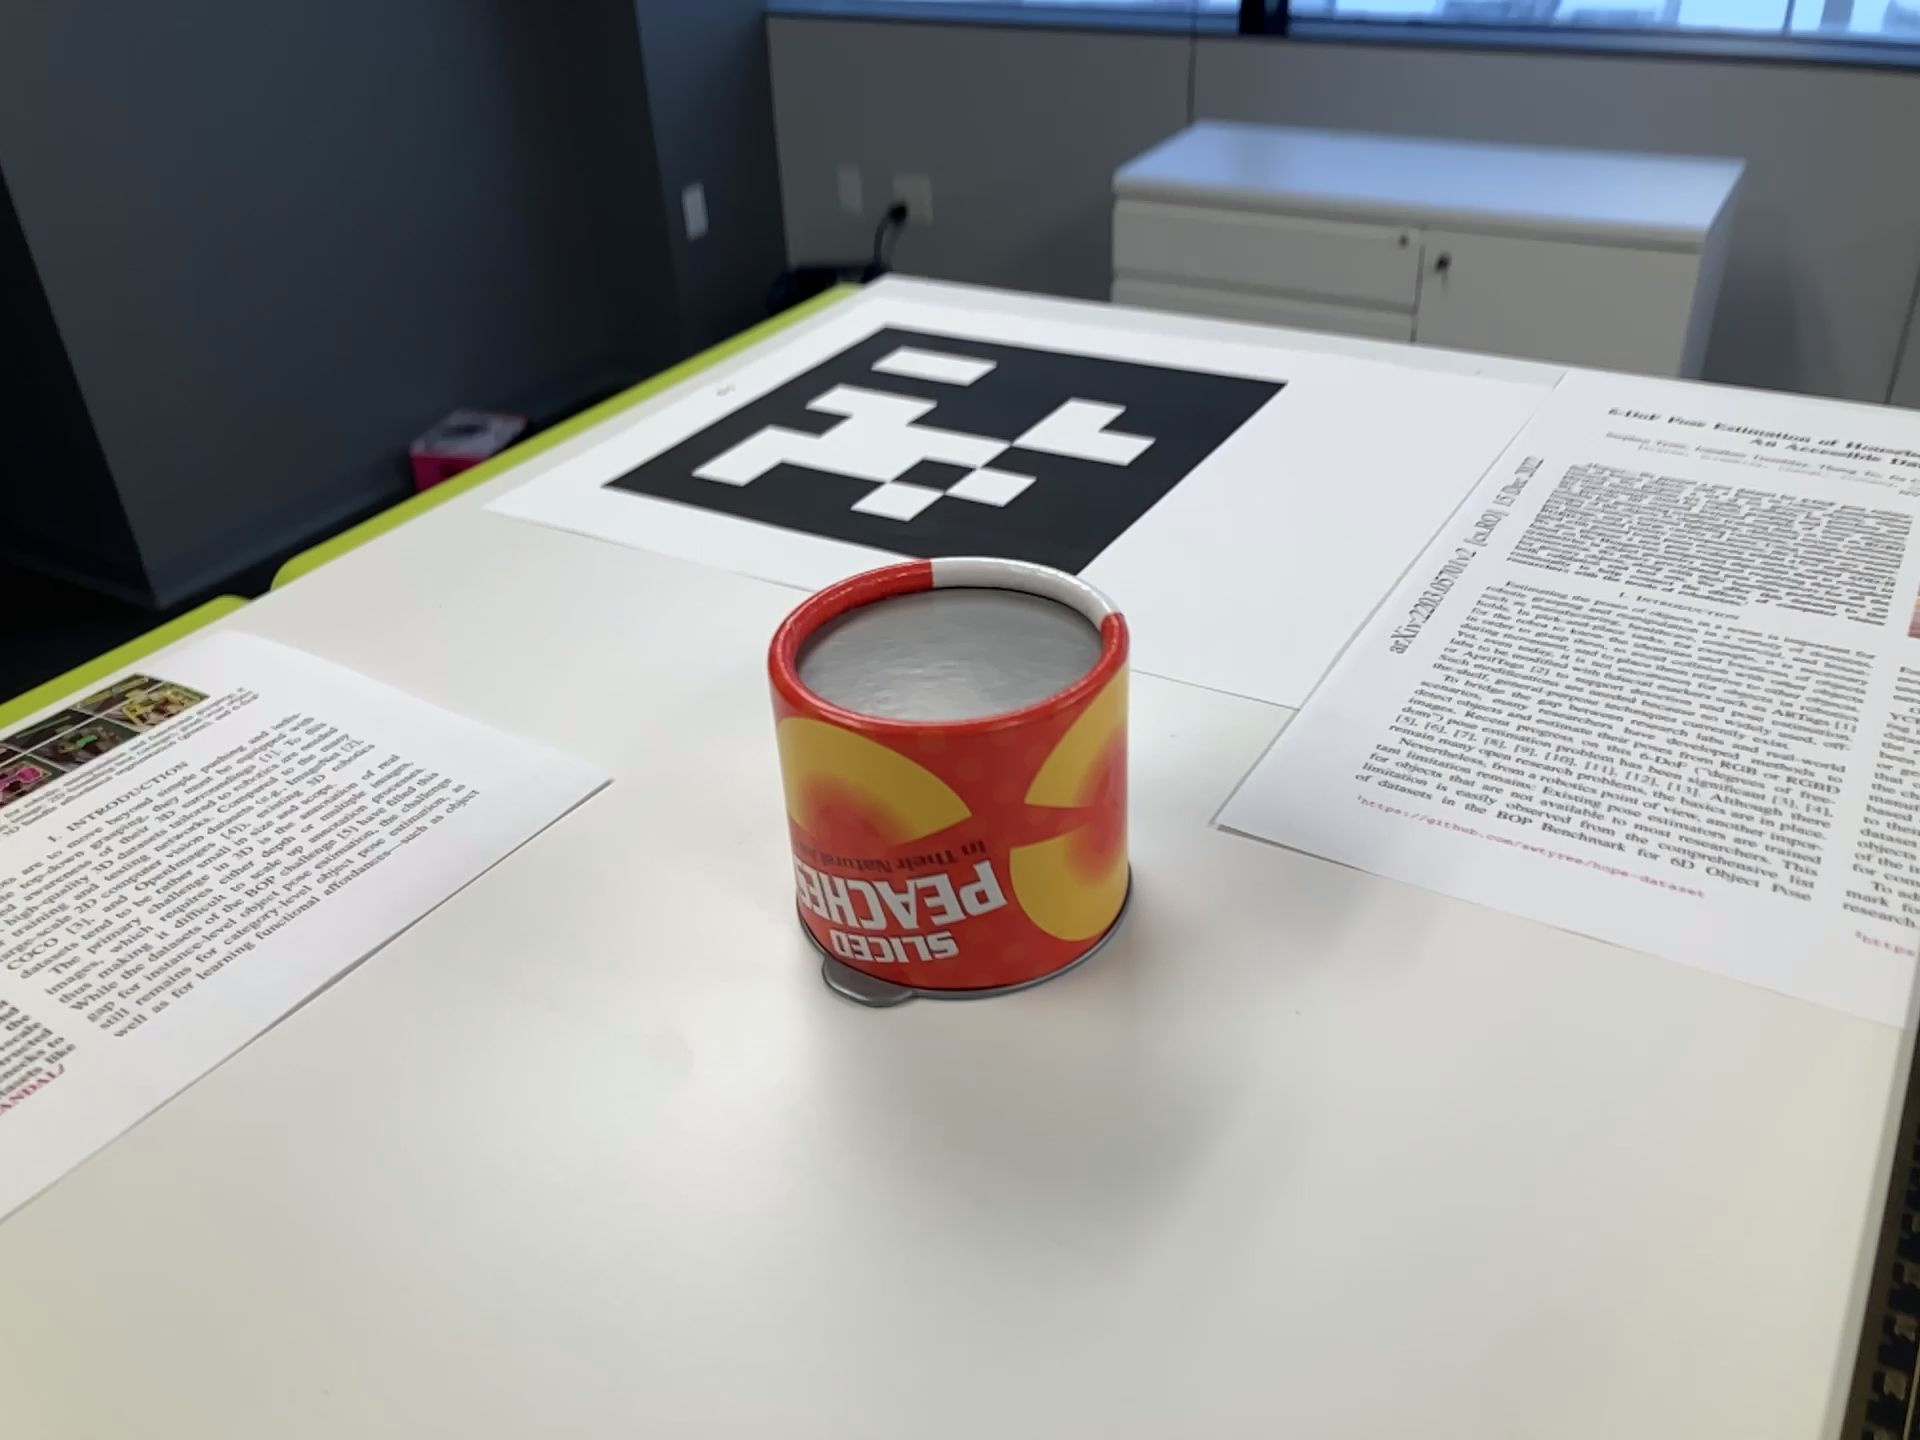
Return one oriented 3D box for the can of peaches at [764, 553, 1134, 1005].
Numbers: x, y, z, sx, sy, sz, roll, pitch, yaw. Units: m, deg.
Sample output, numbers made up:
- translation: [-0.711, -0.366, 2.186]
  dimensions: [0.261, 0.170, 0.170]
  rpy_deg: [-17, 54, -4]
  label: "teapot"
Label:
- translation: [-0.002, 0.009, 0.292]
  dimensions: [0.071, 0.058, 0.071]
  rpy_deg: [-2, 32, 1]
  label: "can of peaches"
